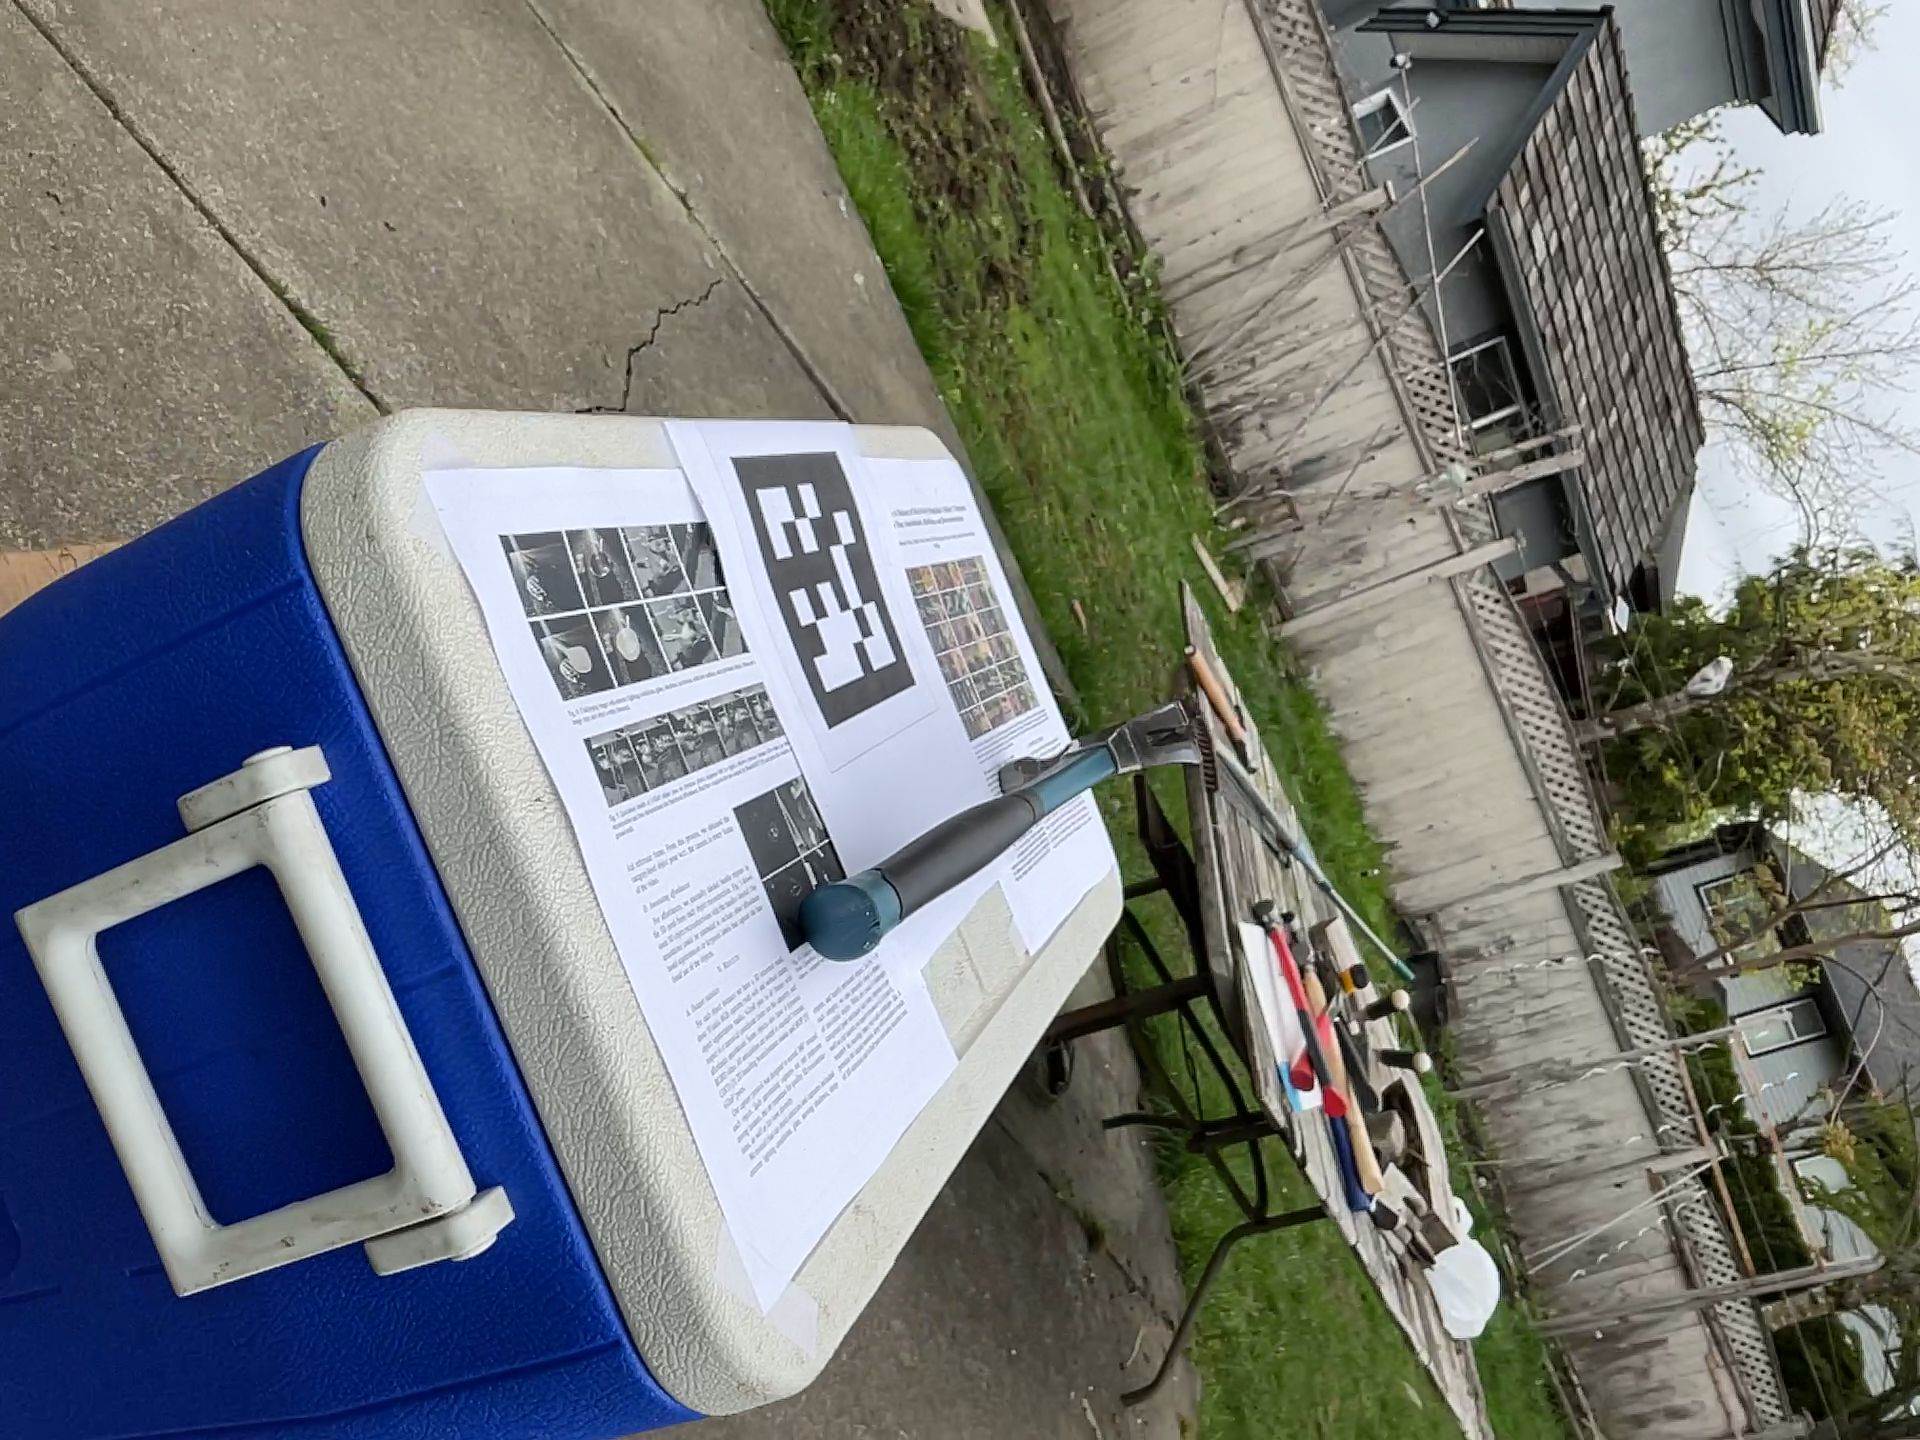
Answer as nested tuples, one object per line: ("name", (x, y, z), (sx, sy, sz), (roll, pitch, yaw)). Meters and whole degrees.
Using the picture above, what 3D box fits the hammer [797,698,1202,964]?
("hammer", (0.020, 0.046, 0.736), (0.331, 0.128, 0.033), (-25, 92, -63))
